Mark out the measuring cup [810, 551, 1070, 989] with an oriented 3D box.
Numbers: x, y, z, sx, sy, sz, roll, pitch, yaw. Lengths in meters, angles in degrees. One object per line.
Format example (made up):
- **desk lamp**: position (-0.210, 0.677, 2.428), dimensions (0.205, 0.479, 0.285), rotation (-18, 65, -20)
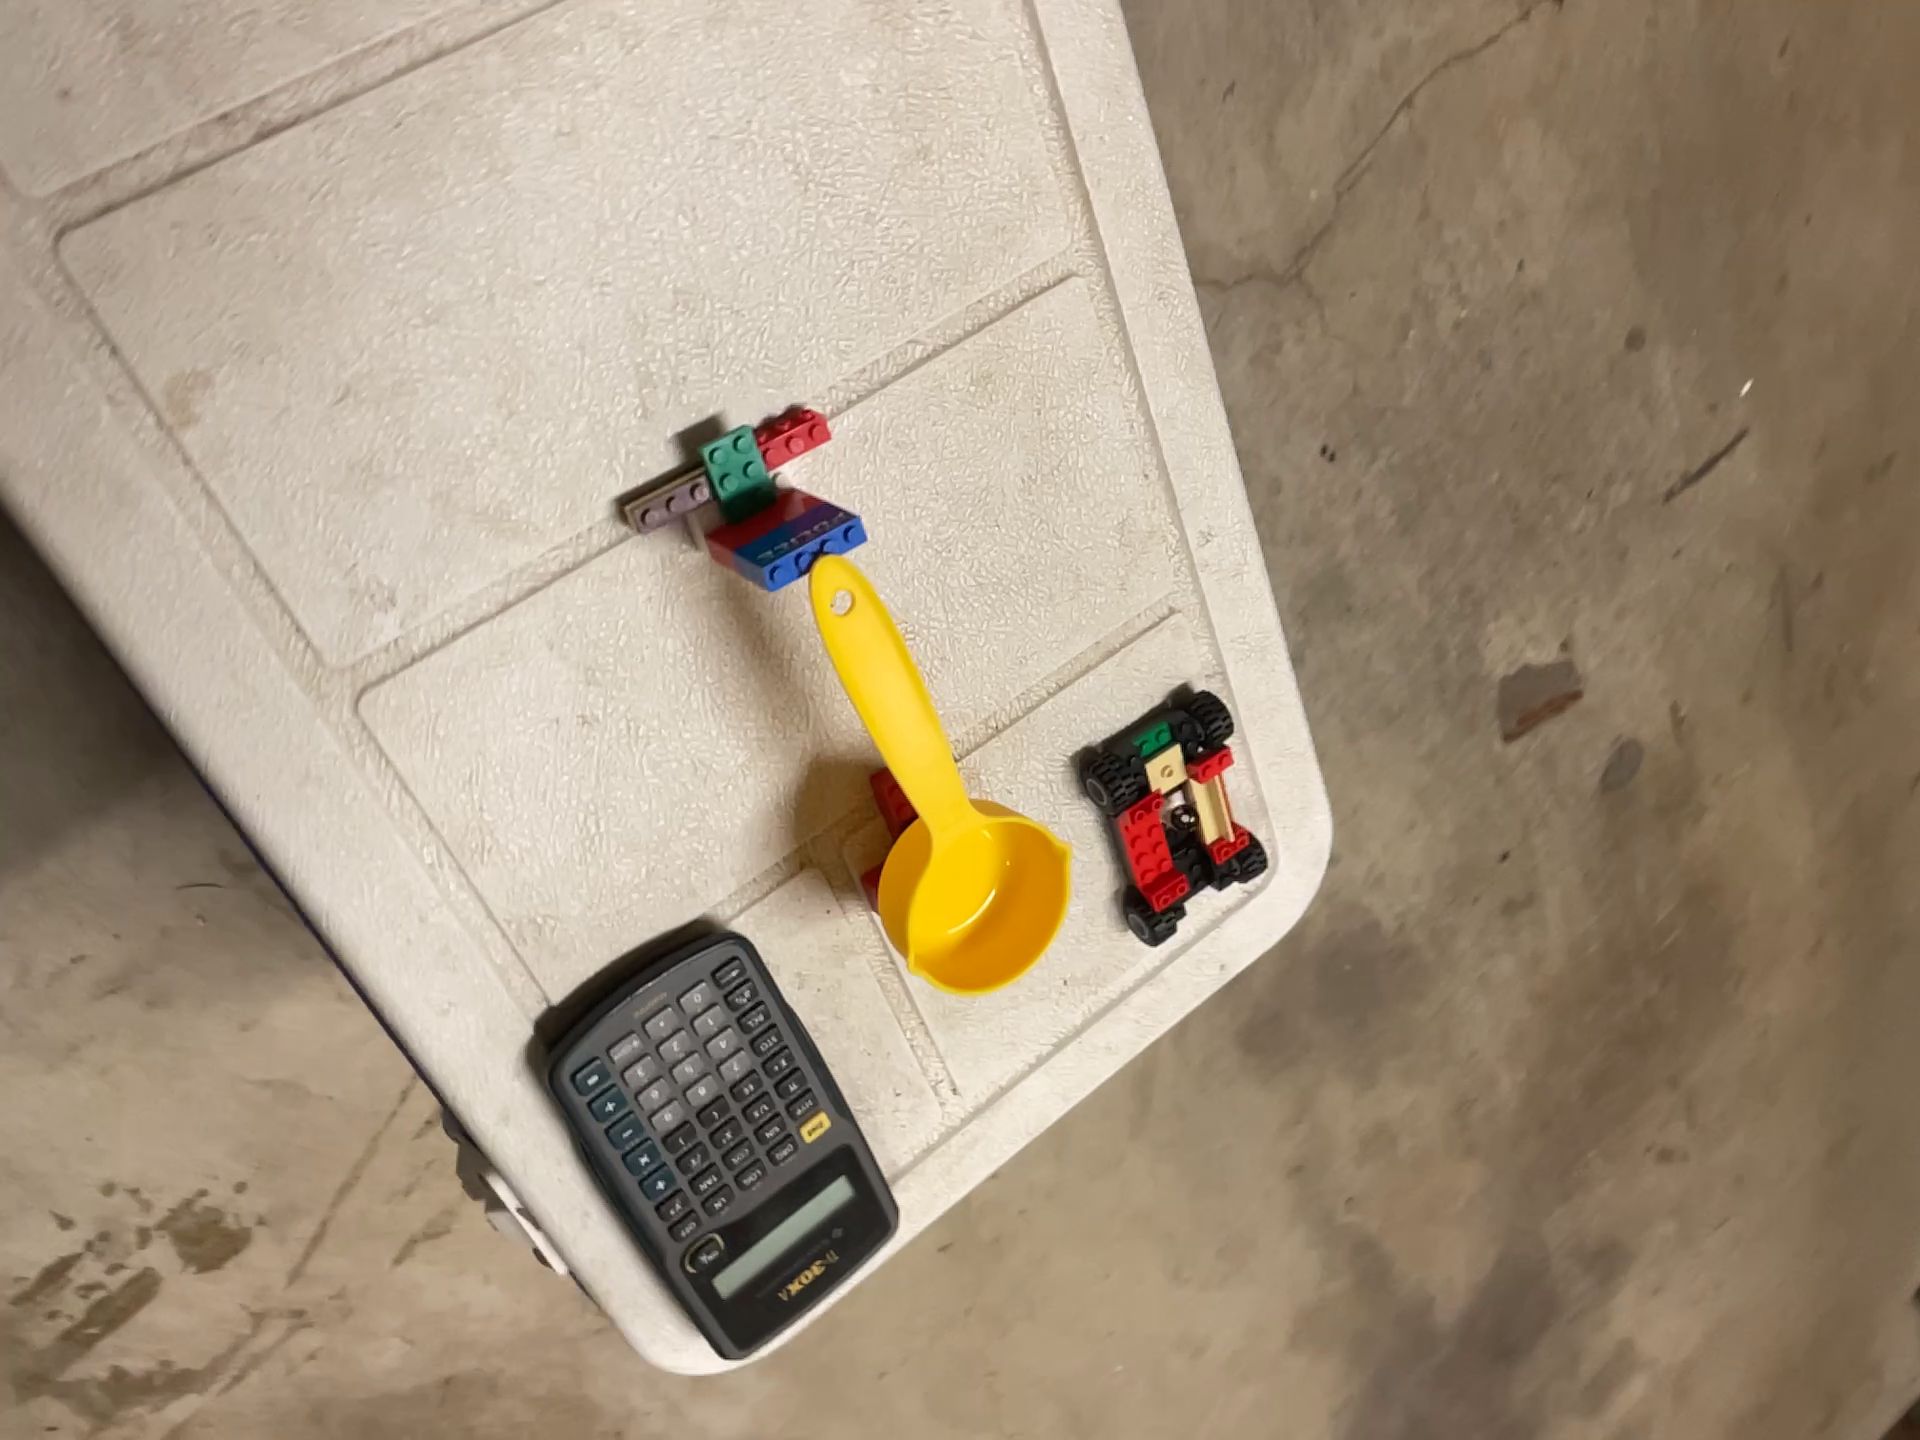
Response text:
- **measuring cup**: position (-0.014, 0.014, 0.482), dimensions (0.062, 0.029, 0.156), rotation (-35, 120, -18)
